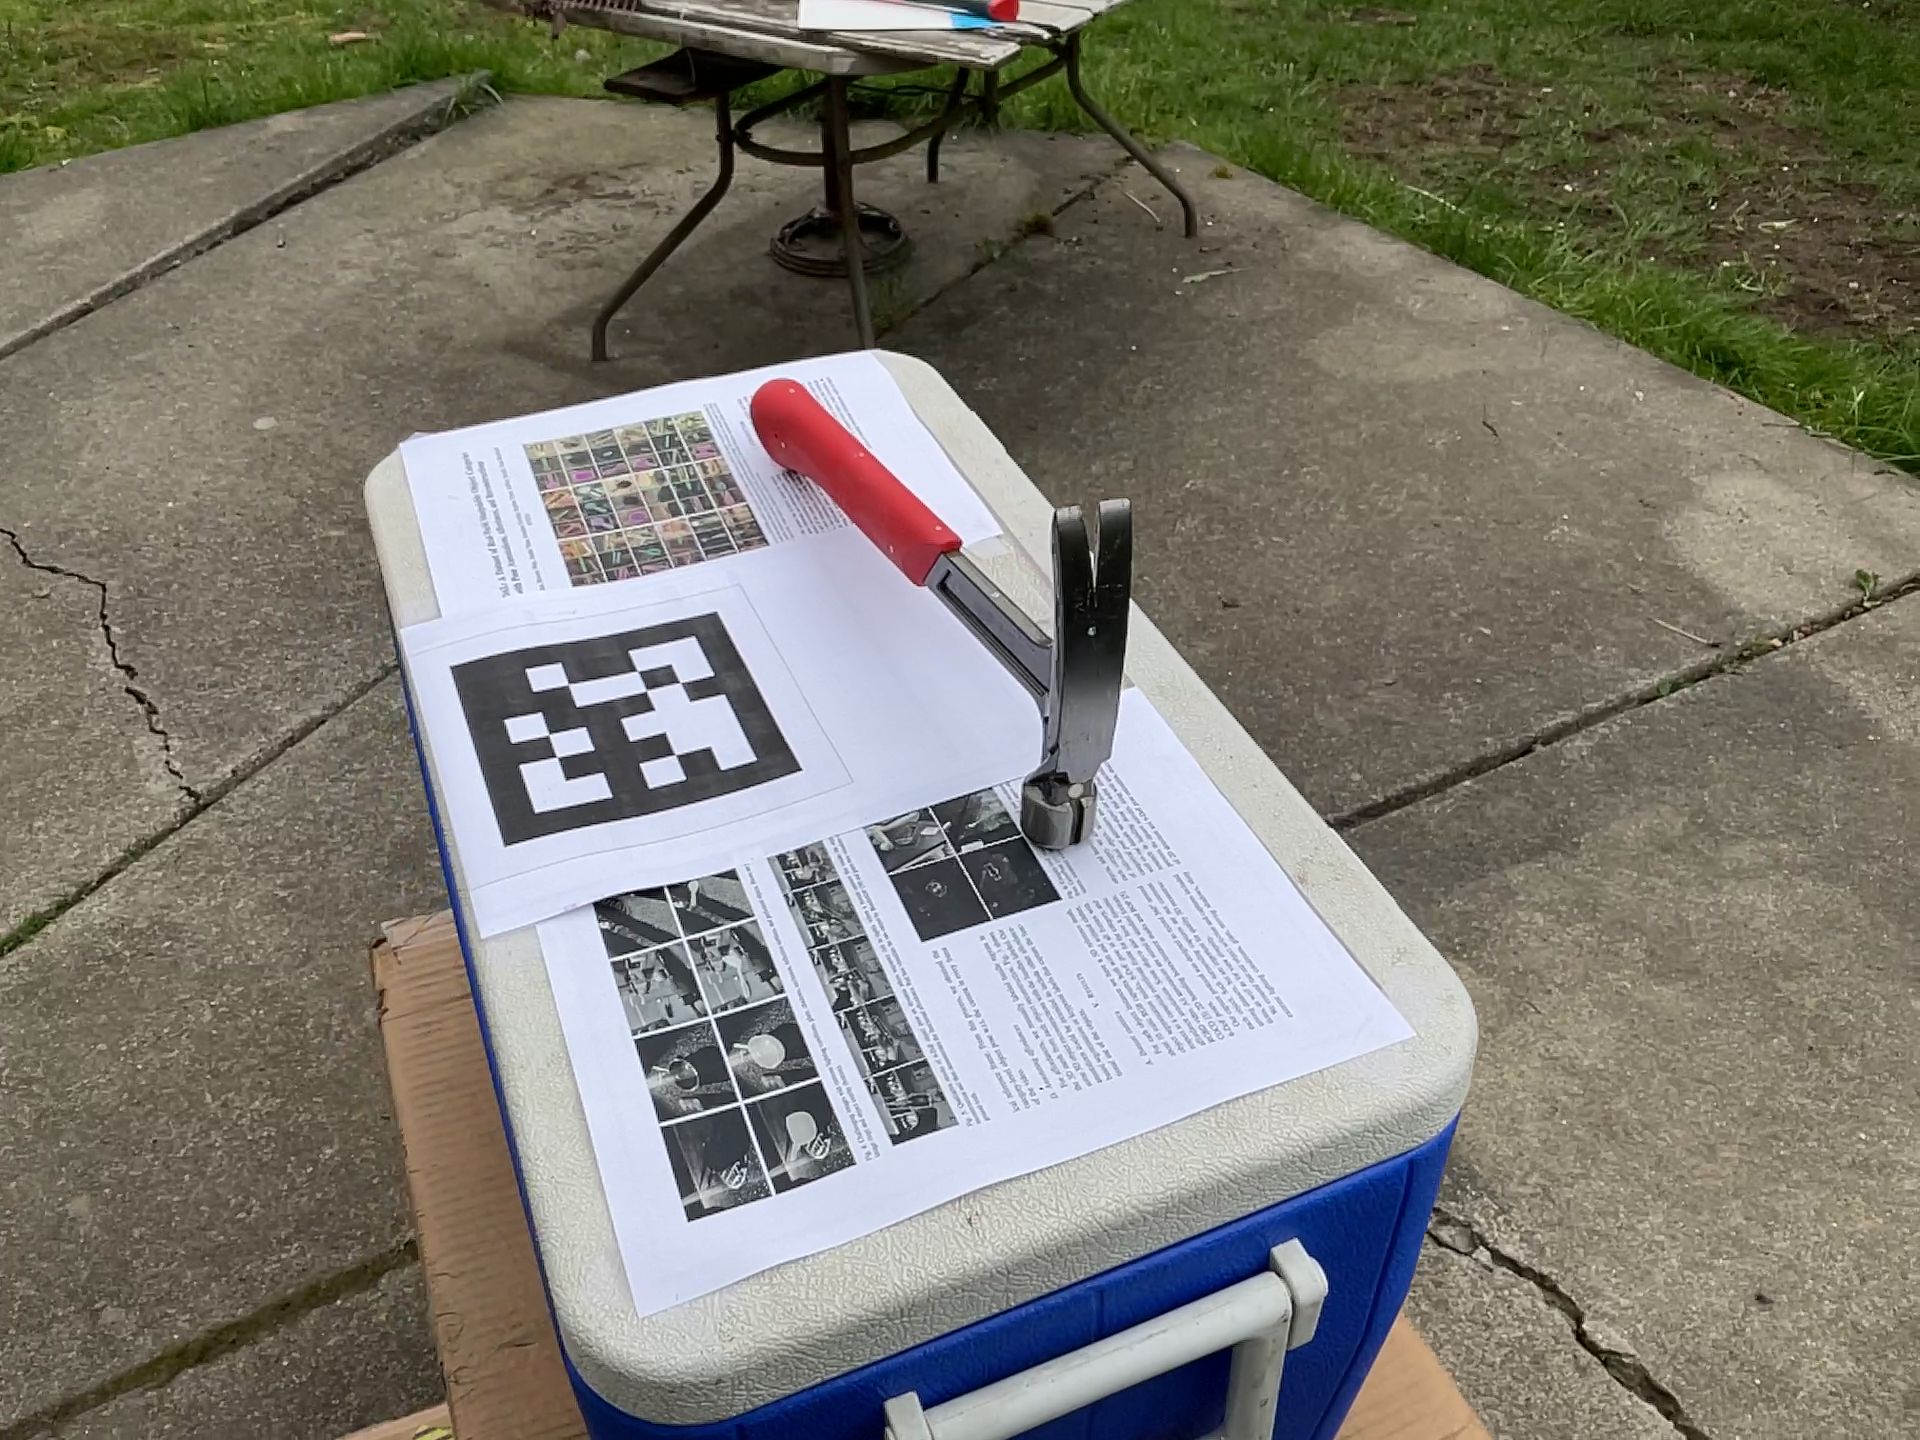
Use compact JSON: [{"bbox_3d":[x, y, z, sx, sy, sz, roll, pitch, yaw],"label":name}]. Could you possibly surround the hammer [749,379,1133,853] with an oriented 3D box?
[{"bbox_3d":[-0.025,-0.095,0.740,0.036,0.149,0.359,-12,34,-22],"label":"hammer"}]
